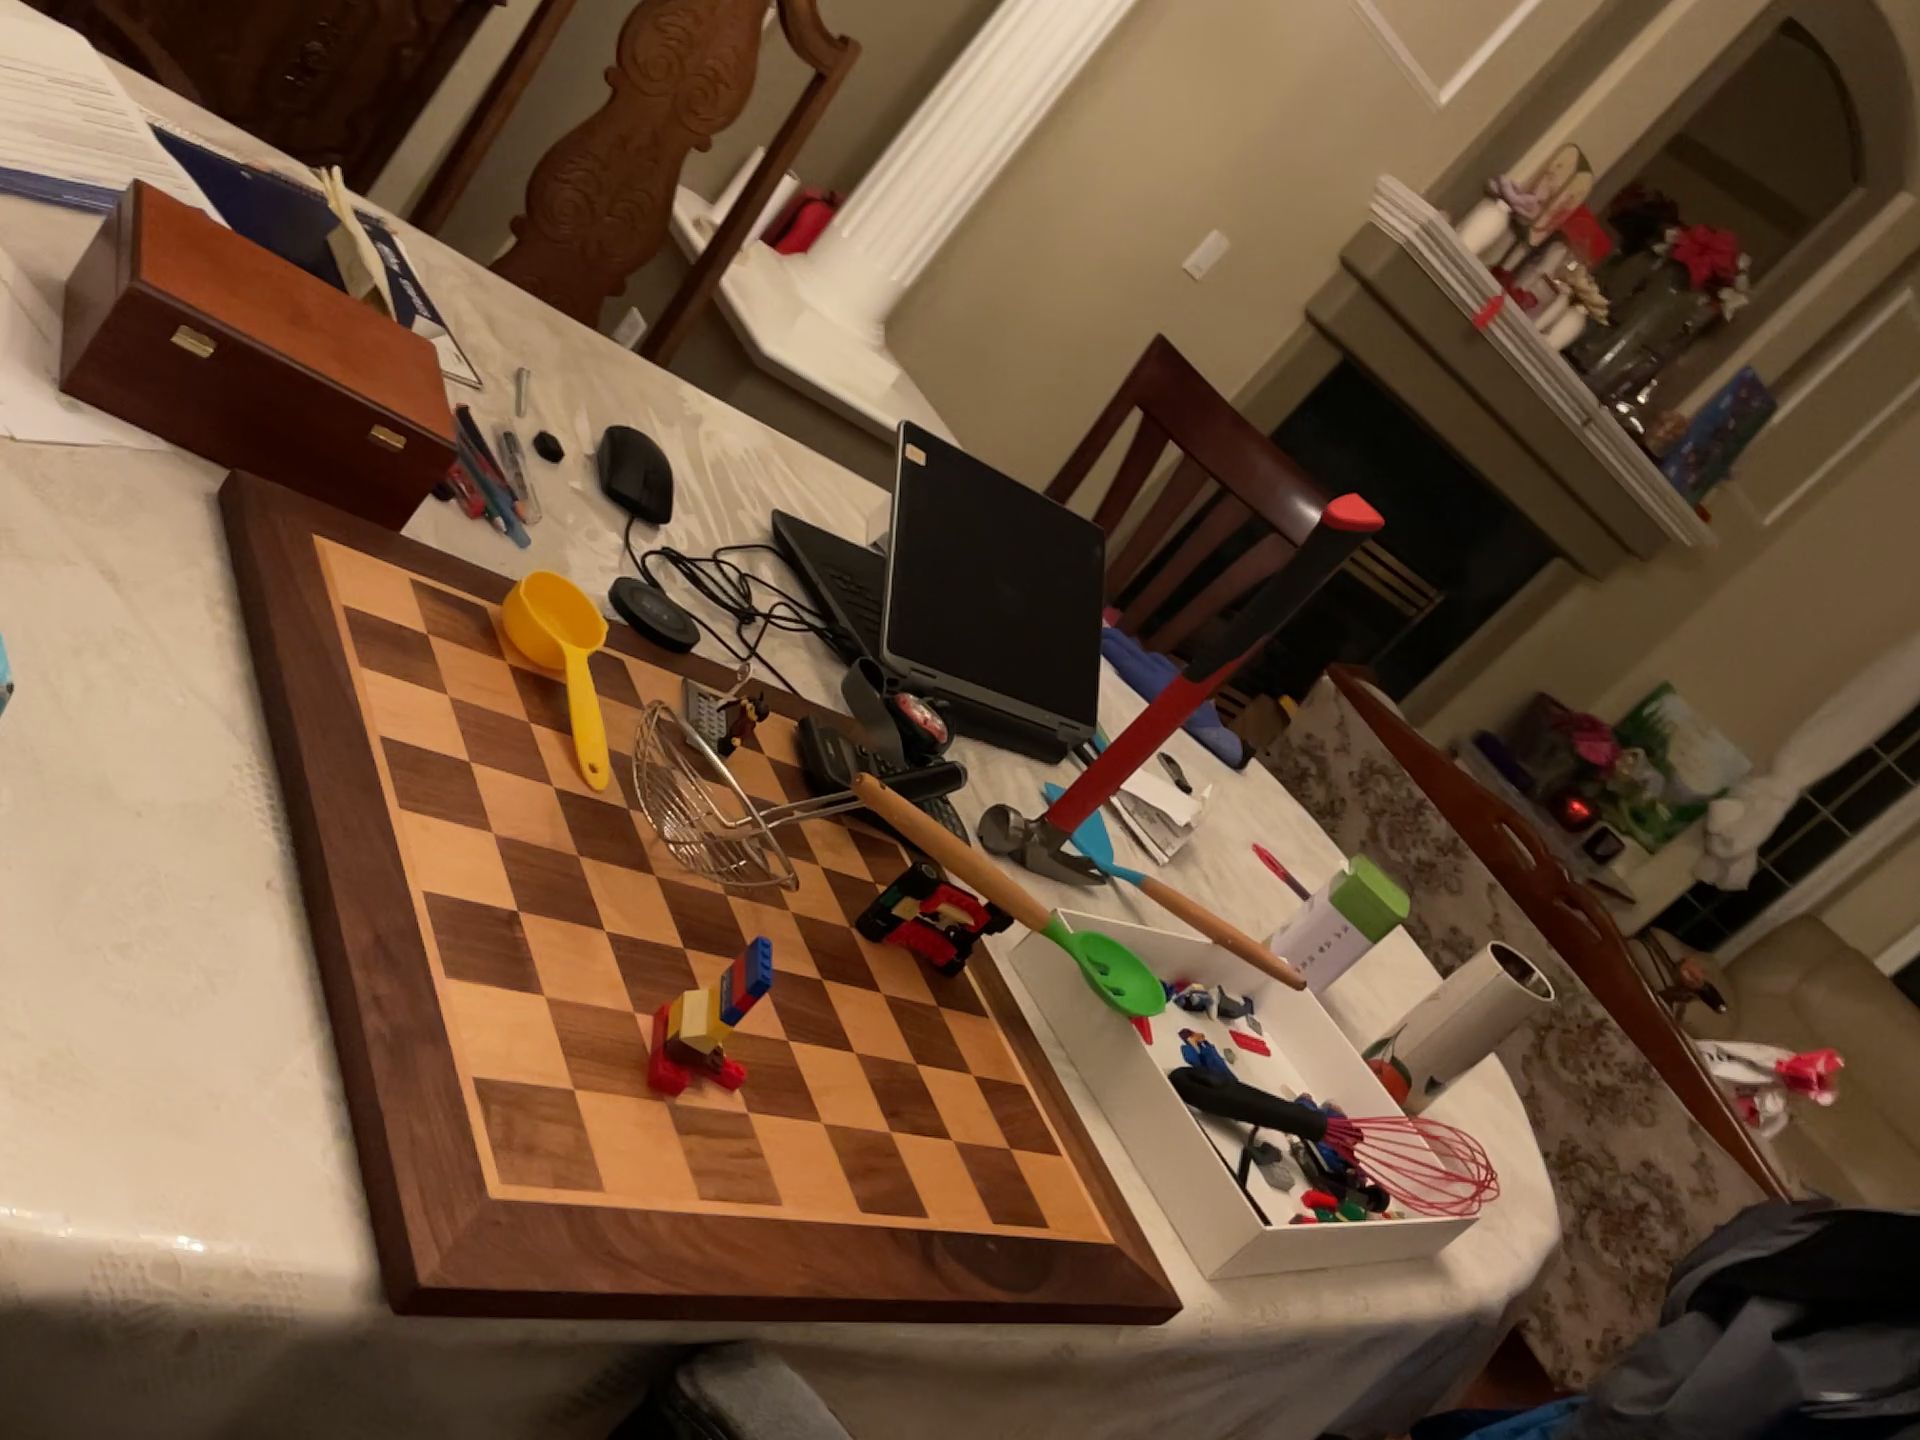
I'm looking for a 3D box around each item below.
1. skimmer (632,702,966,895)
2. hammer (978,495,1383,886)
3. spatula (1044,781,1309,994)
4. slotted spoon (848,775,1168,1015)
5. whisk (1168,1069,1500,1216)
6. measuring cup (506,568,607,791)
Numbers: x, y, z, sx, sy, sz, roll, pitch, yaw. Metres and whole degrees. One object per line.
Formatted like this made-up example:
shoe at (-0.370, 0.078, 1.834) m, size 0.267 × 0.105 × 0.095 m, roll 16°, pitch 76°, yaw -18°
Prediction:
skimmer at (-0.070, 0.035, 0.972) m, size 0.127 × 0.090 × 0.362 m, roll 47°, pitch 23°, yaw 17°
hammer at (0.186, -0.016, 1.238) m, size 0.143 × 0.386 × 0.038 m, roll 25°, pitch 26°, yaw -44°
spatula at (0.178, 0.140, 1.334) m, size 0.082 × 0.044 × 0.318 m, roll 28°, pitch 3°, yaw -42°
slotted spoon at (0.034, 0.111, 0.978) m, size 0.313 × 0.031 × 0.070 m, roll 40°, pitch 18°, yaw -40°
whisk at (0.282, 0.310, 1.191) m, size 0.295 × 0.073 × 0.073 m, roll 22°, pitch 6°, yaw -18°
measuring cup at (-0.226, -0.019, 0.905) m, size 0.062 × 0.029 × 0.157 m, roll 27°, pitch 37°, yaw -48°
